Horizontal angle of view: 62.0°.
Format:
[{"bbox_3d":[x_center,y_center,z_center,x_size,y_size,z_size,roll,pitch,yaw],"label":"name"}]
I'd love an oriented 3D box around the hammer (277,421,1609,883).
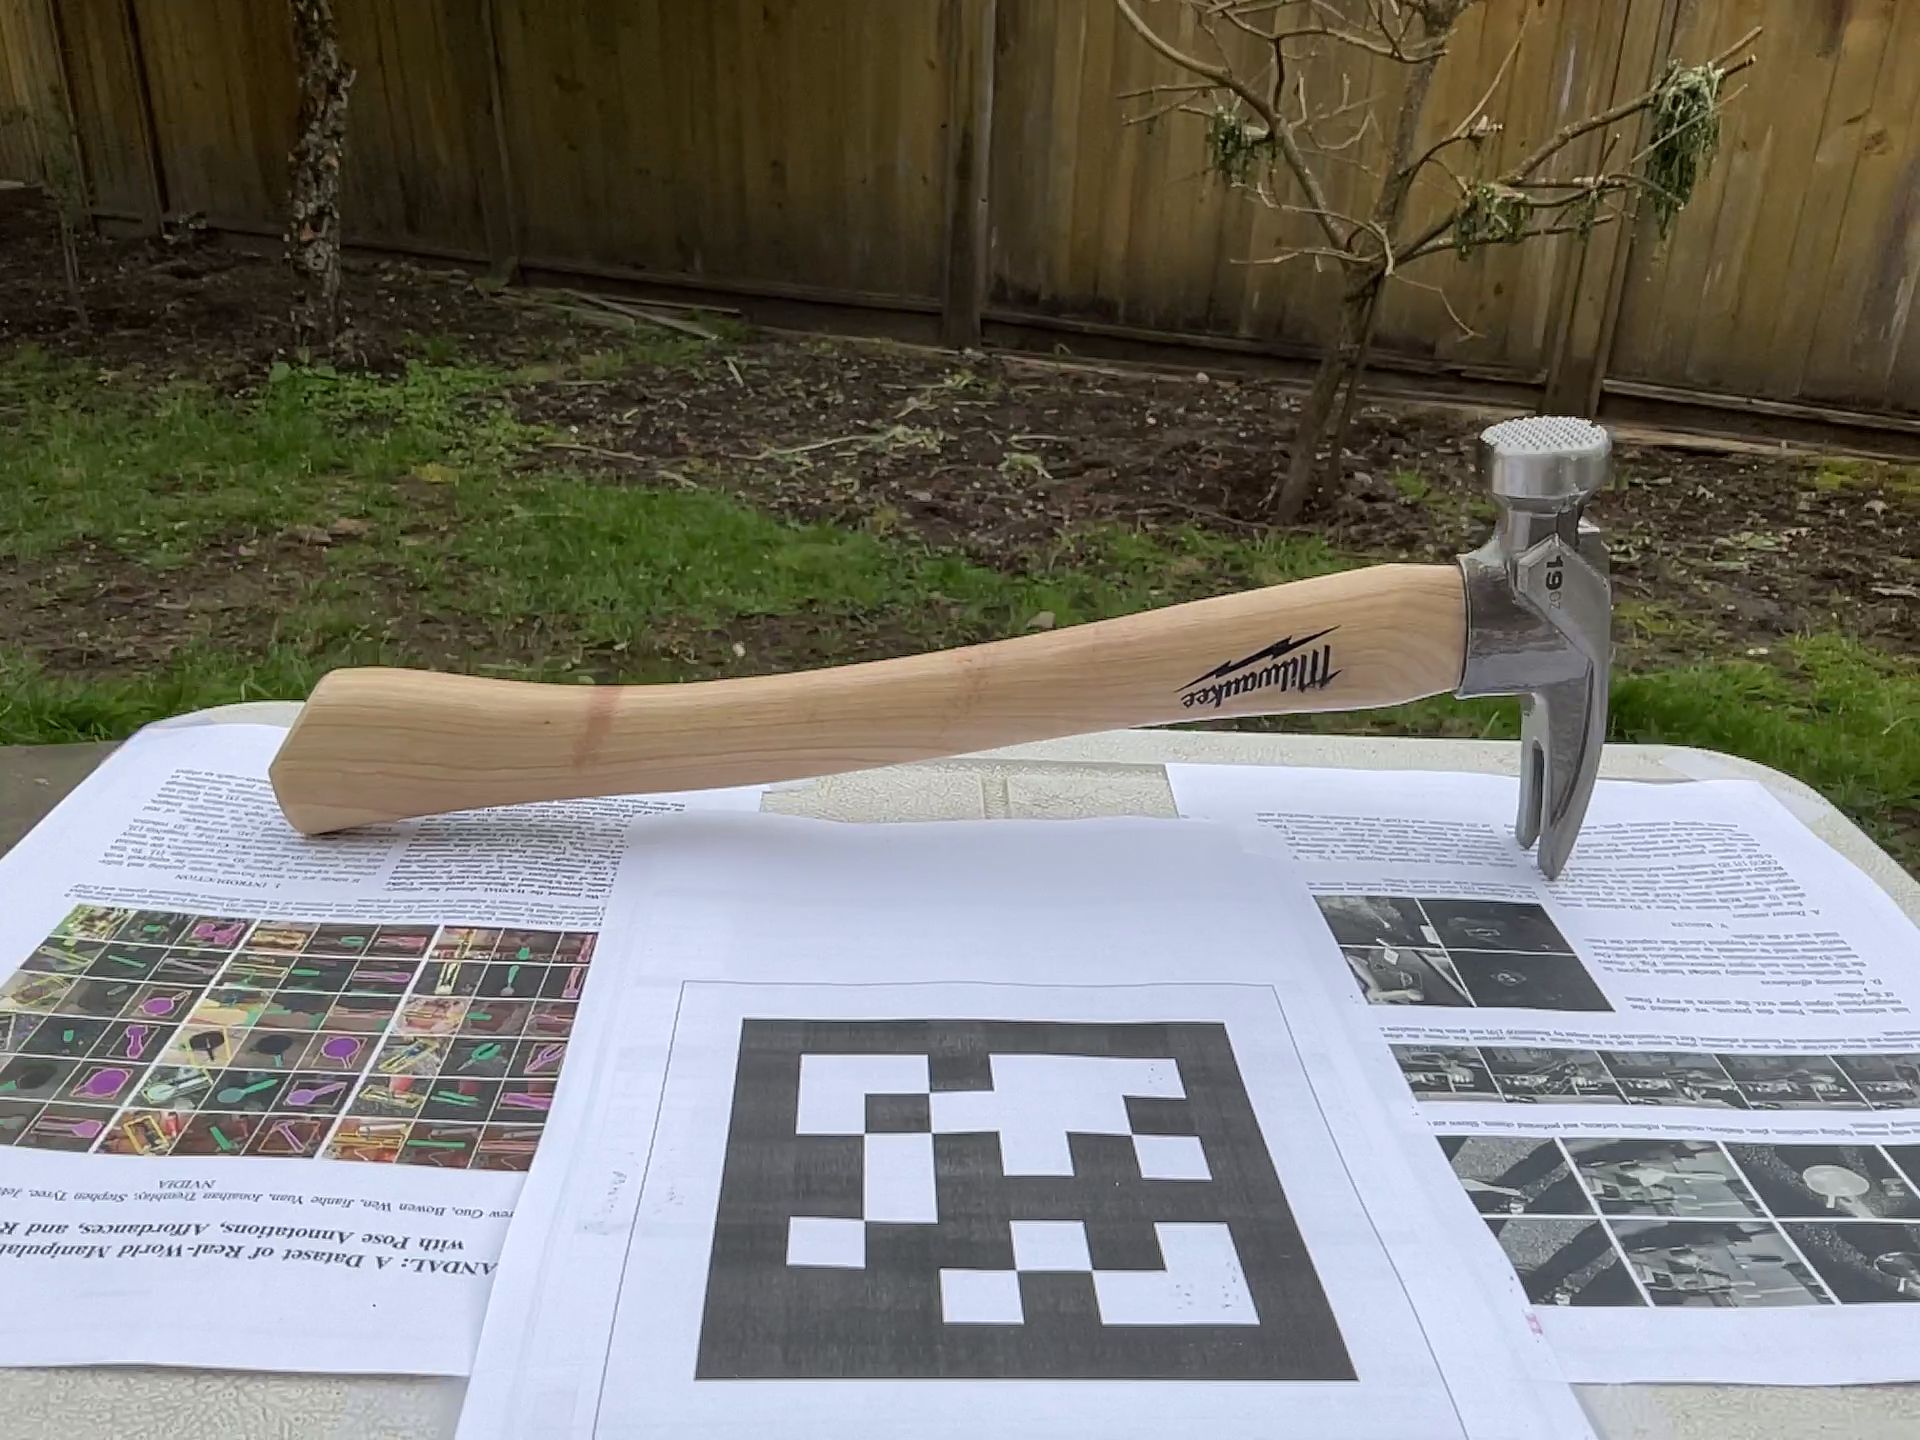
[{"bbox_3d":[-0.004,0.004,0.507,0.410,0.146,0.038,-7,24,1],"label":"hammer"}]
